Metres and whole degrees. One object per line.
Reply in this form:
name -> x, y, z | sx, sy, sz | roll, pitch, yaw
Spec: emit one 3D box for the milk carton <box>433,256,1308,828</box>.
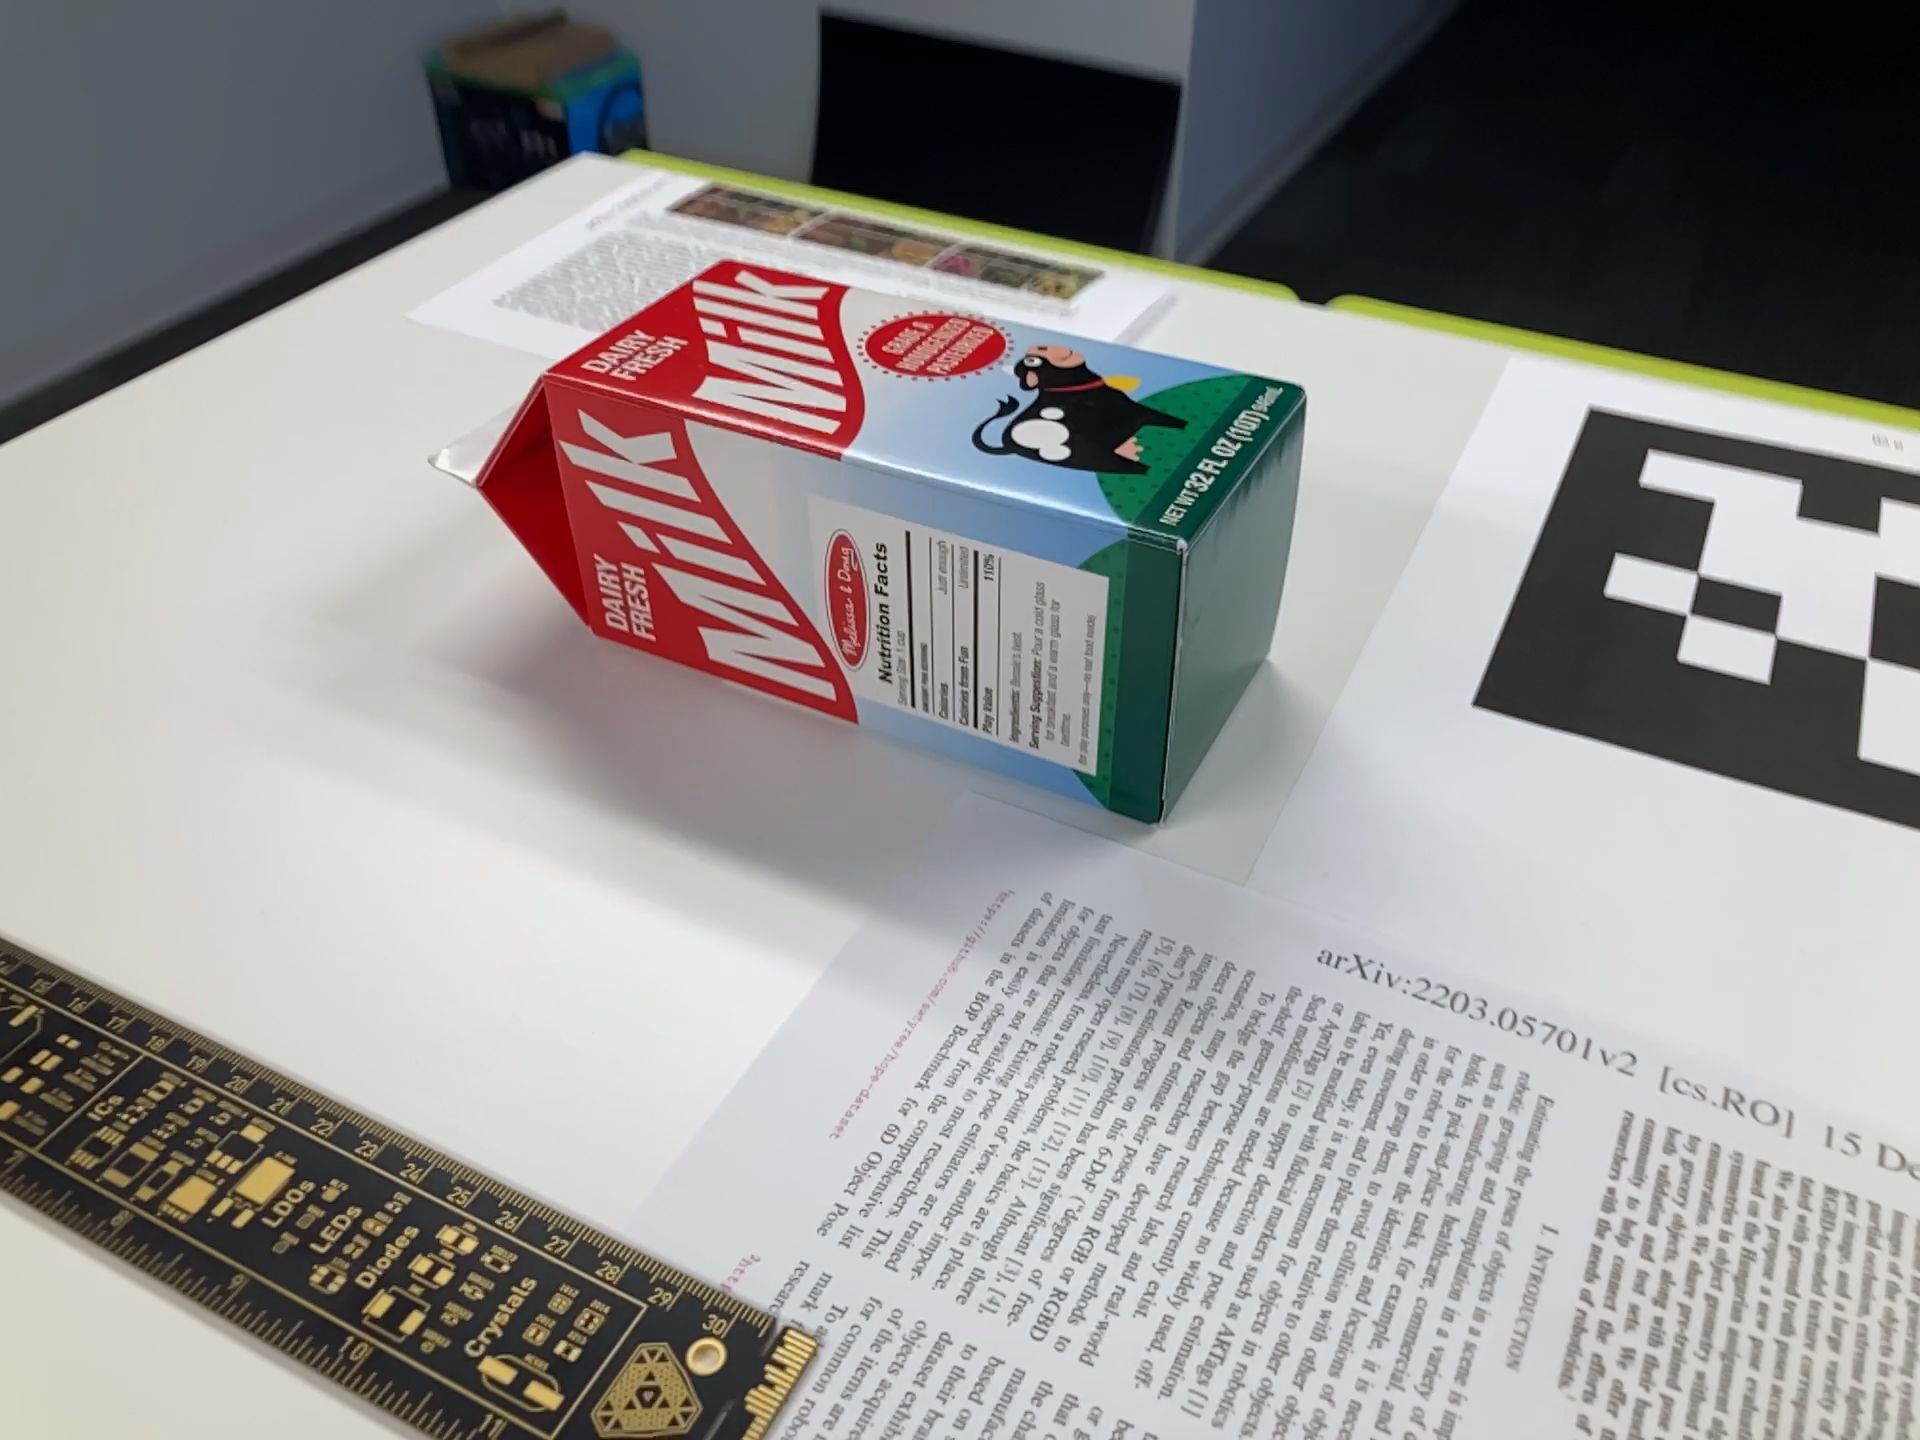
milk carton -> -0.026, -0.051, 0.364 | 0.190, 0.073, 0.072 | 18, 43, 21
